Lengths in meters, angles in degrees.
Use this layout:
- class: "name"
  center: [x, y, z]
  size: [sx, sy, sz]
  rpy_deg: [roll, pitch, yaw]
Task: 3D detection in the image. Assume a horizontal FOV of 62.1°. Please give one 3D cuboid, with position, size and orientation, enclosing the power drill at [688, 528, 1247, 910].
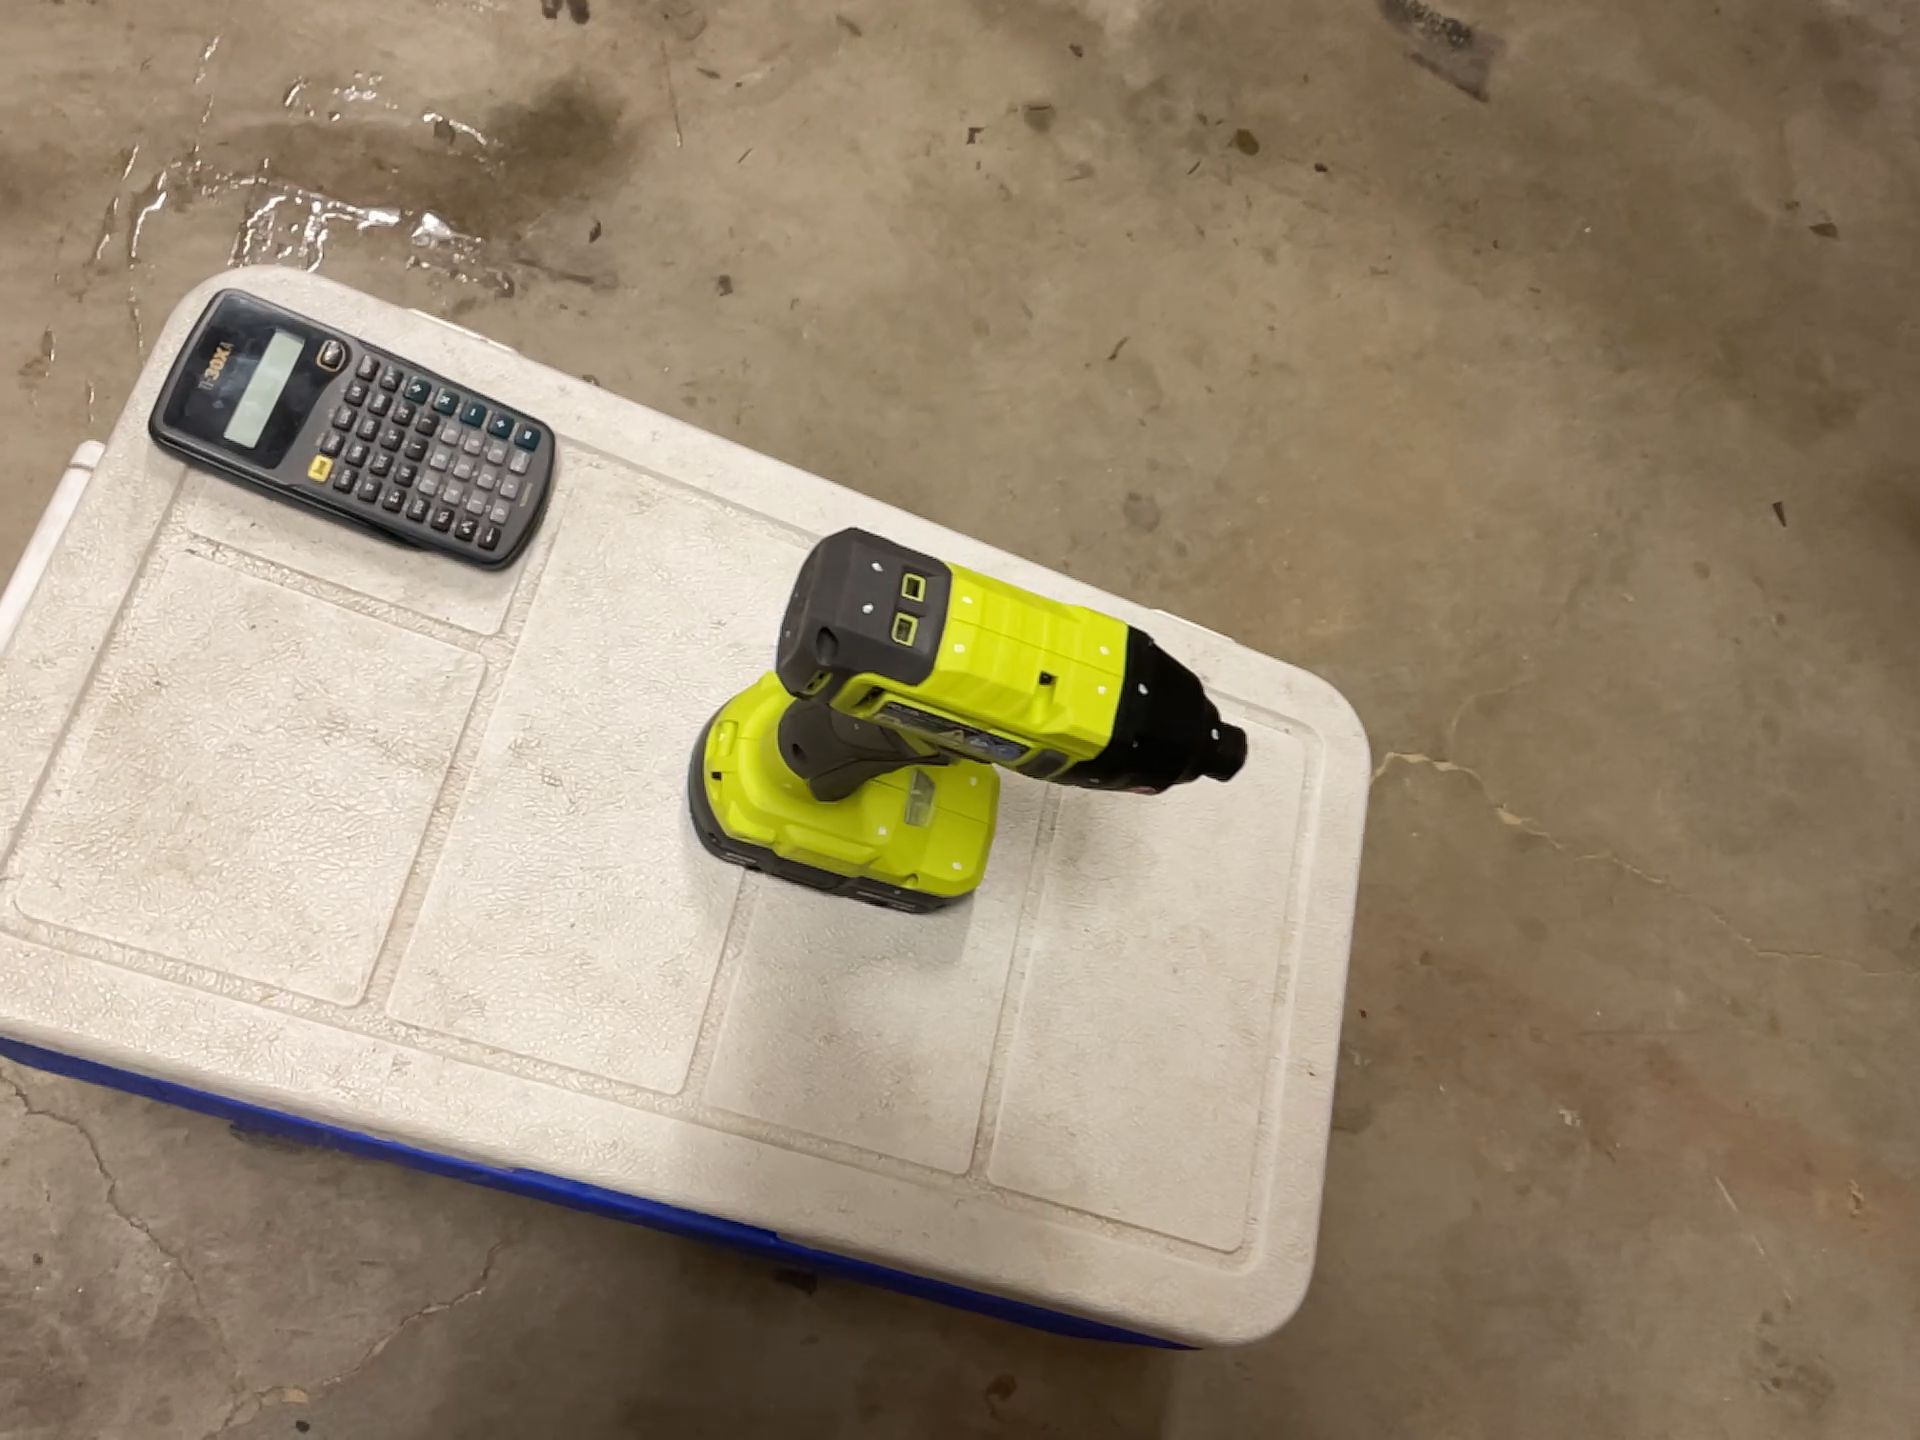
- class: "power drill"
  center: [-0.009, 0.011, 0.628]
  size: [0.171, 0.223, 0.080]
  rpy_deg: [18, 68, -18]
